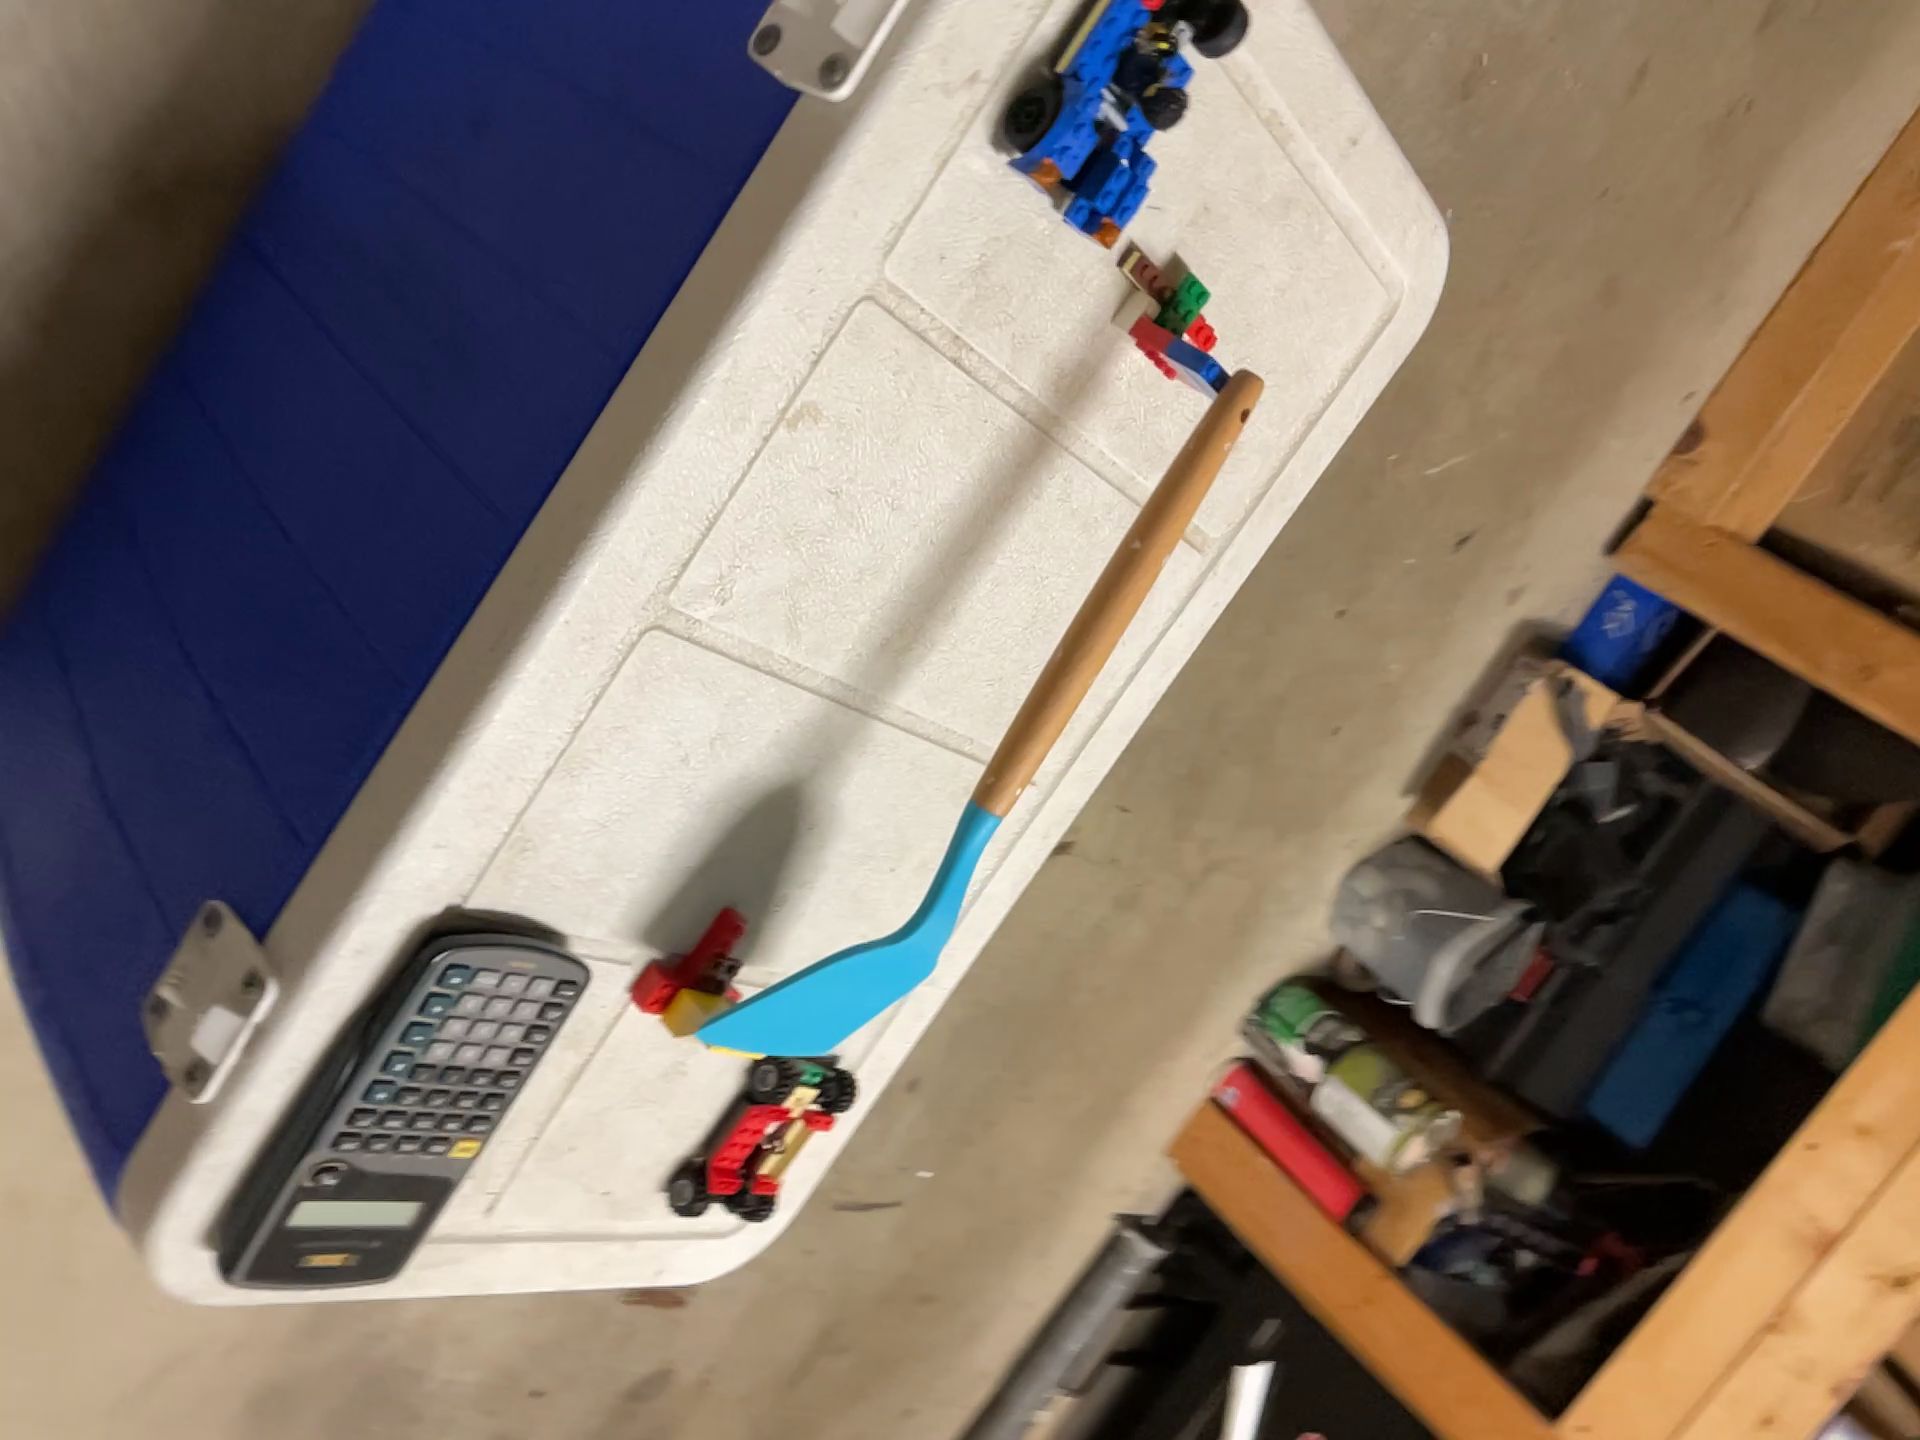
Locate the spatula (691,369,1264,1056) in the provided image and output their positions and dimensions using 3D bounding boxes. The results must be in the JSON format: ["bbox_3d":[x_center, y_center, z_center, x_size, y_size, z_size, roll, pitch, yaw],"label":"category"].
[{"bbox_3d":[0.016,0.005,0.597,0.082,0.044,0.317,25,99,-52],"label":"spatula"}]
